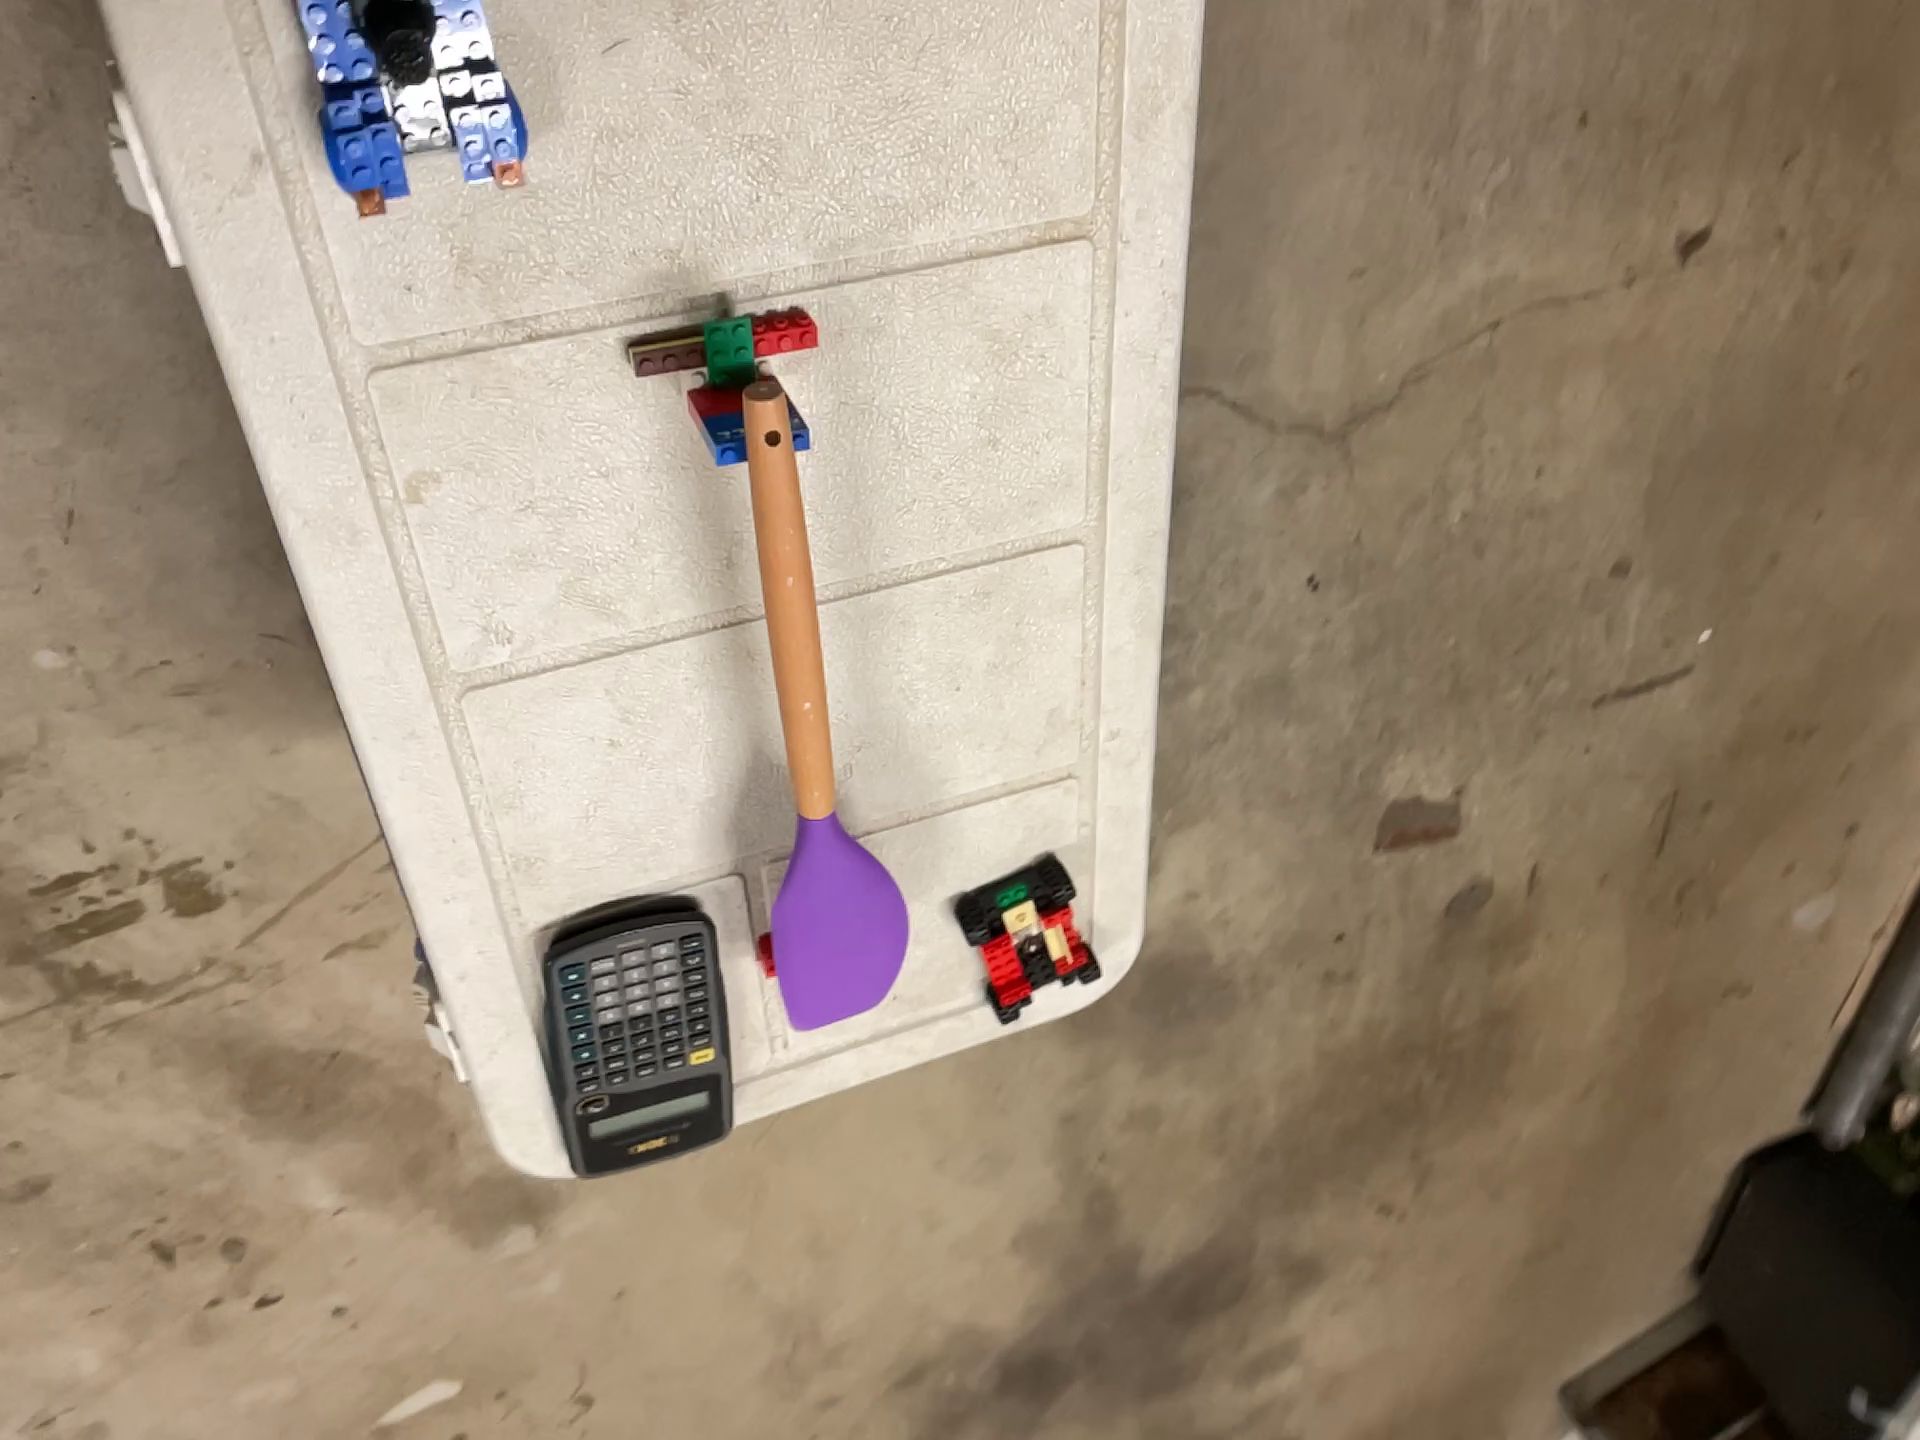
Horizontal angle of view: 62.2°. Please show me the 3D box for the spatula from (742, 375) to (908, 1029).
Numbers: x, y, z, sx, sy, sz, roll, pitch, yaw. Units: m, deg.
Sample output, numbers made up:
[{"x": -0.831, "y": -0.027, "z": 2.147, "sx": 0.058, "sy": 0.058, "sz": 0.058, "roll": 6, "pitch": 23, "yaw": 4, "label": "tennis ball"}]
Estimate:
[{"x": -0.055, "y": 0.012, "z": 0.601, "sx": 0.060, "sy": 0.018, "sz": 0.315, "roll": -16, "pitch": 133, "yaw": -14, "label": "spatula"}]
